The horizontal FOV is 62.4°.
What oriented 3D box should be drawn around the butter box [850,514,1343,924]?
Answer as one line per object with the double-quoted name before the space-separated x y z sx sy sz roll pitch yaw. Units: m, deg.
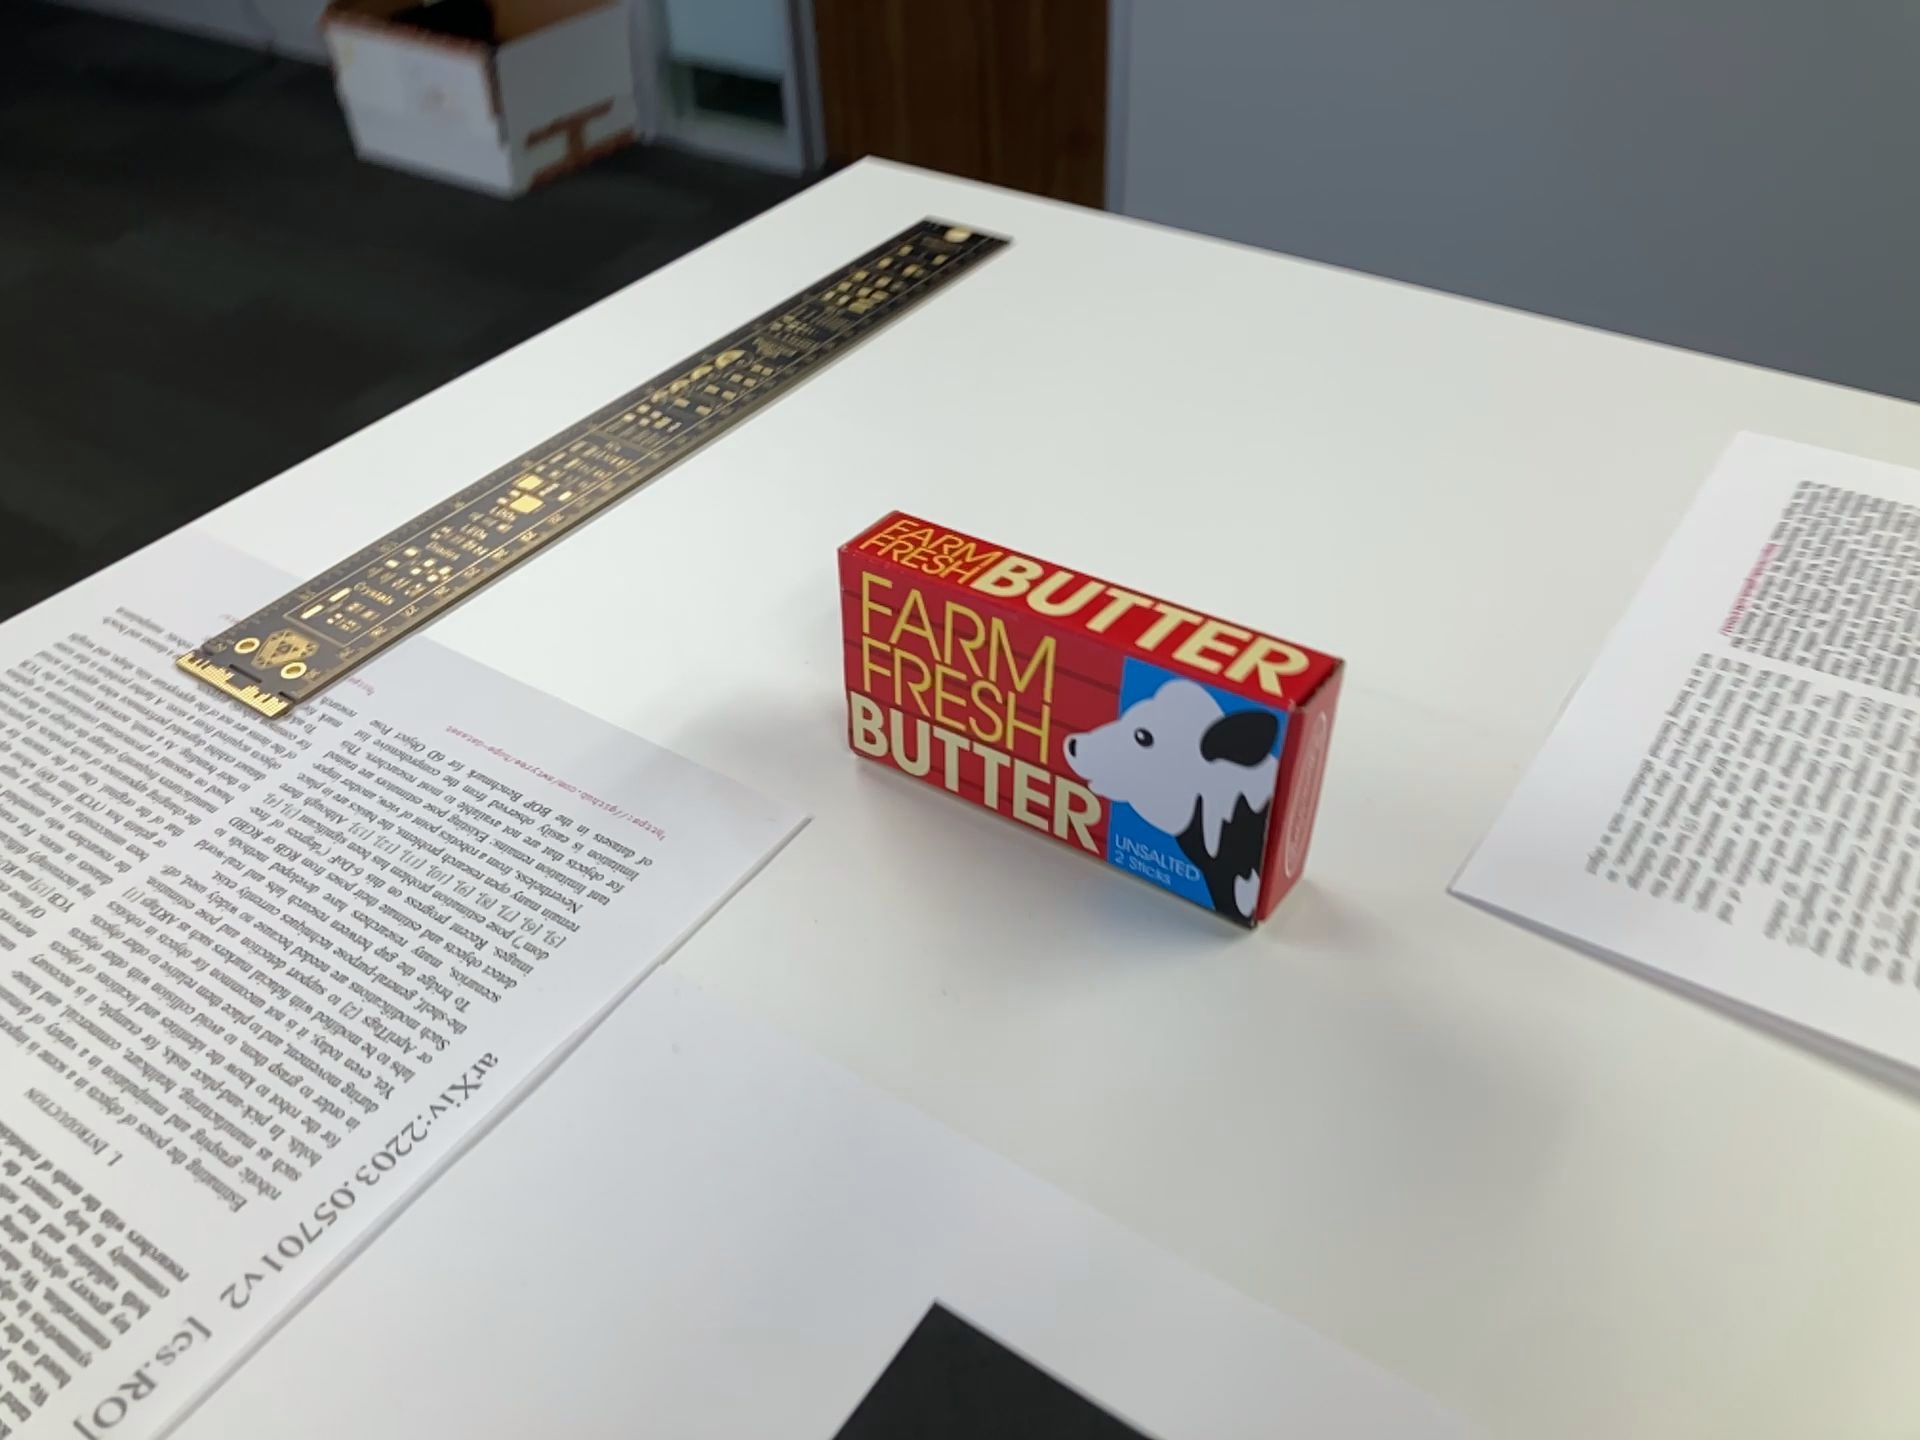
"butter box" 0.023 -0.002 0.328 0.103 0.053 0.024 23 41 26
